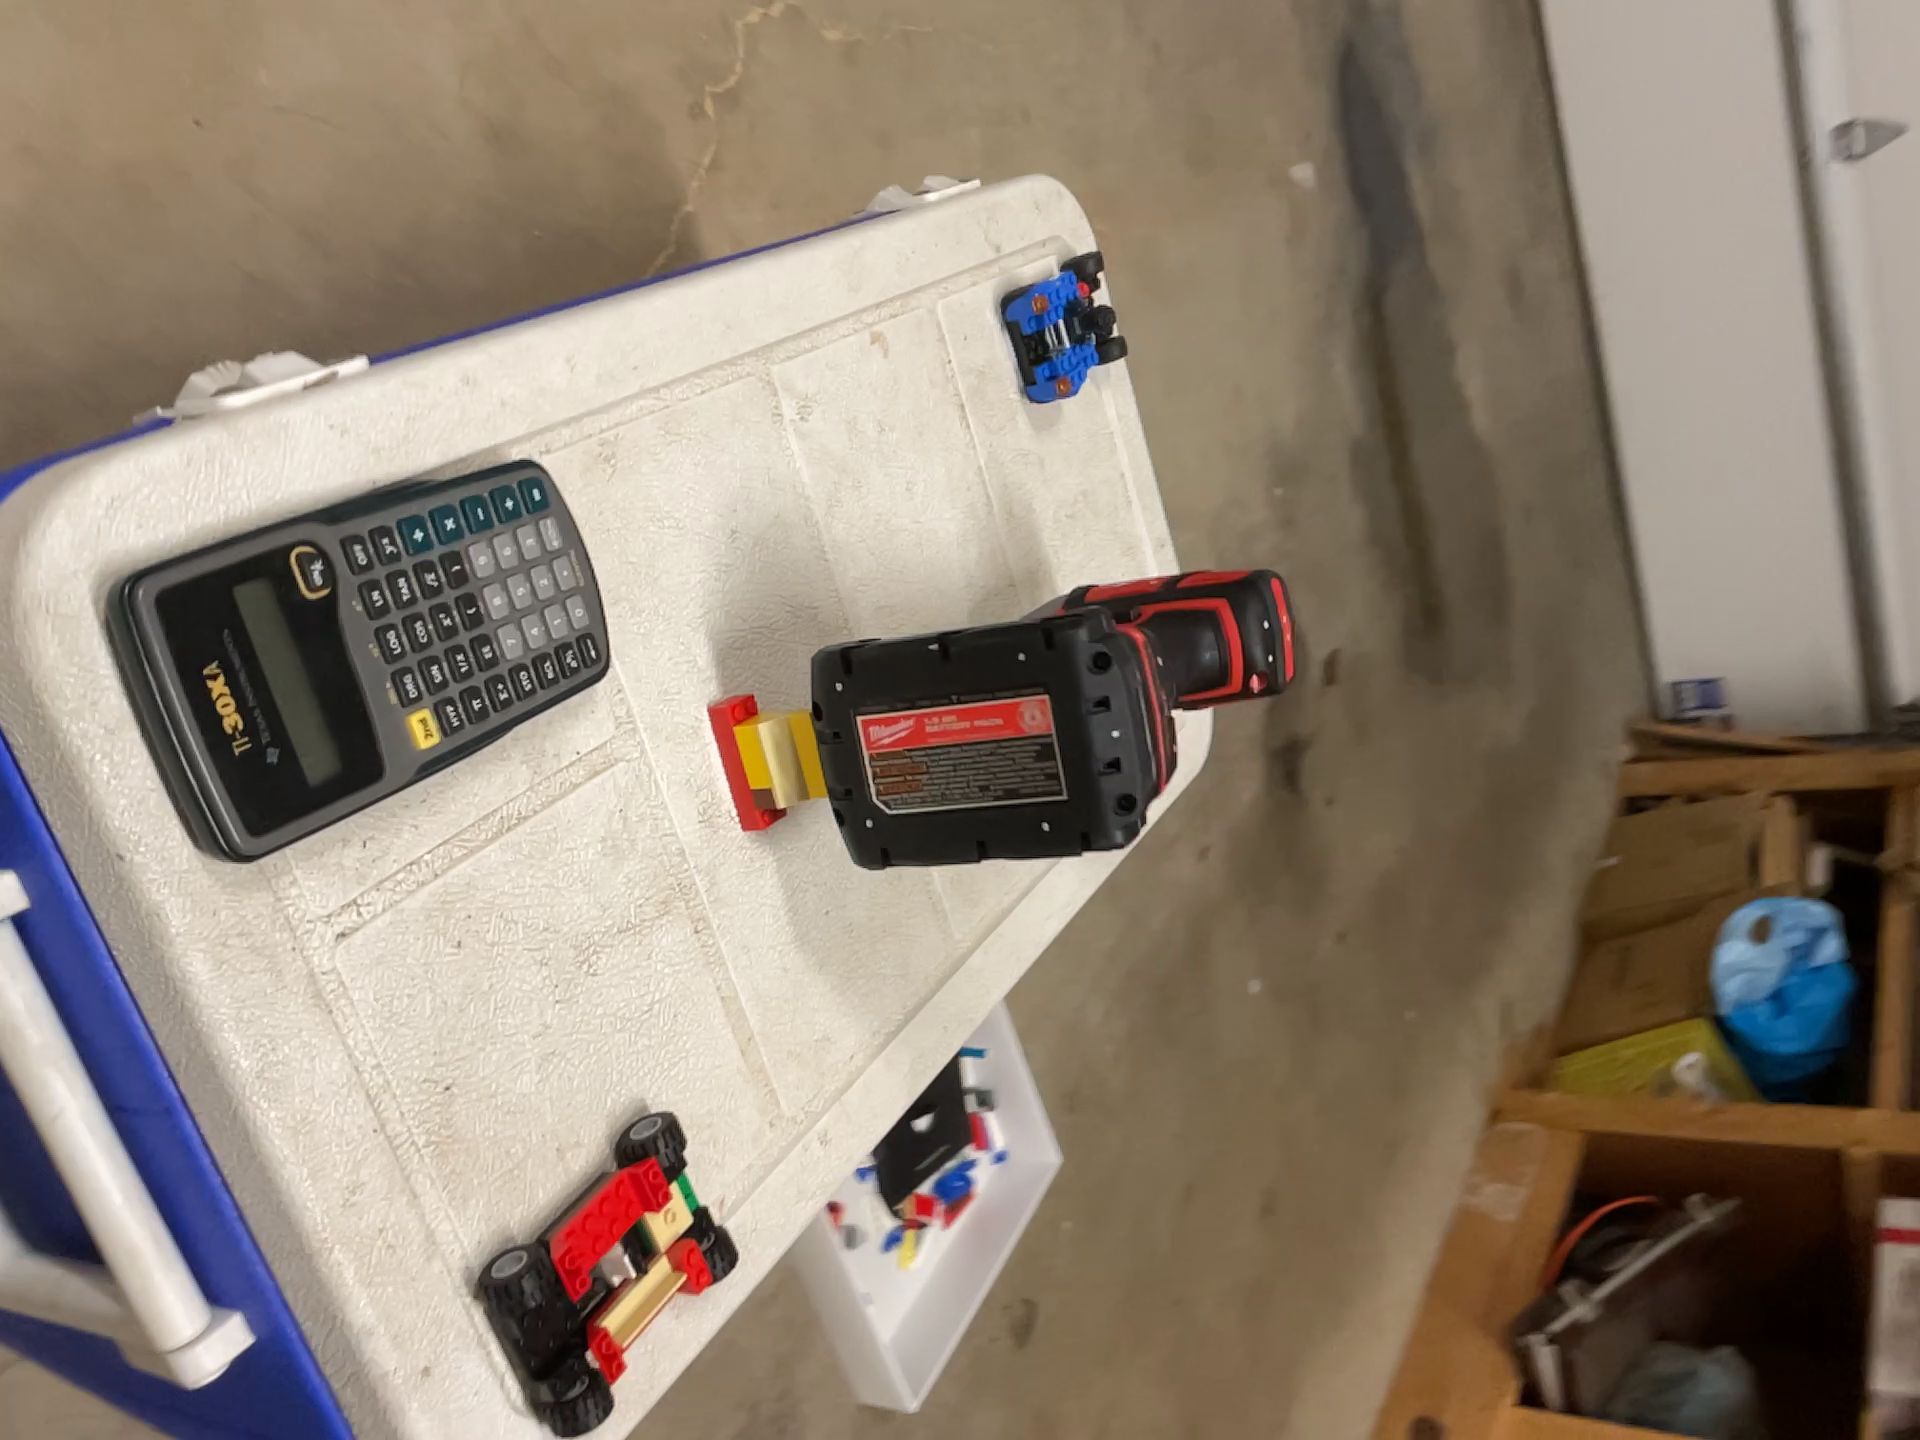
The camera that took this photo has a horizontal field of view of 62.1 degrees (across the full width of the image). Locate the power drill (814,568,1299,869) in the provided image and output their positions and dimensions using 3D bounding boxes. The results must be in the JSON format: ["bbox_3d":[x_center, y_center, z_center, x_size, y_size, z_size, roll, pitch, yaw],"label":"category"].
[{"bbox_3d":[0.040,-0.013,0.625,0.220,0.143,0.078,-28,110,-62],"label":"power drill"}]
